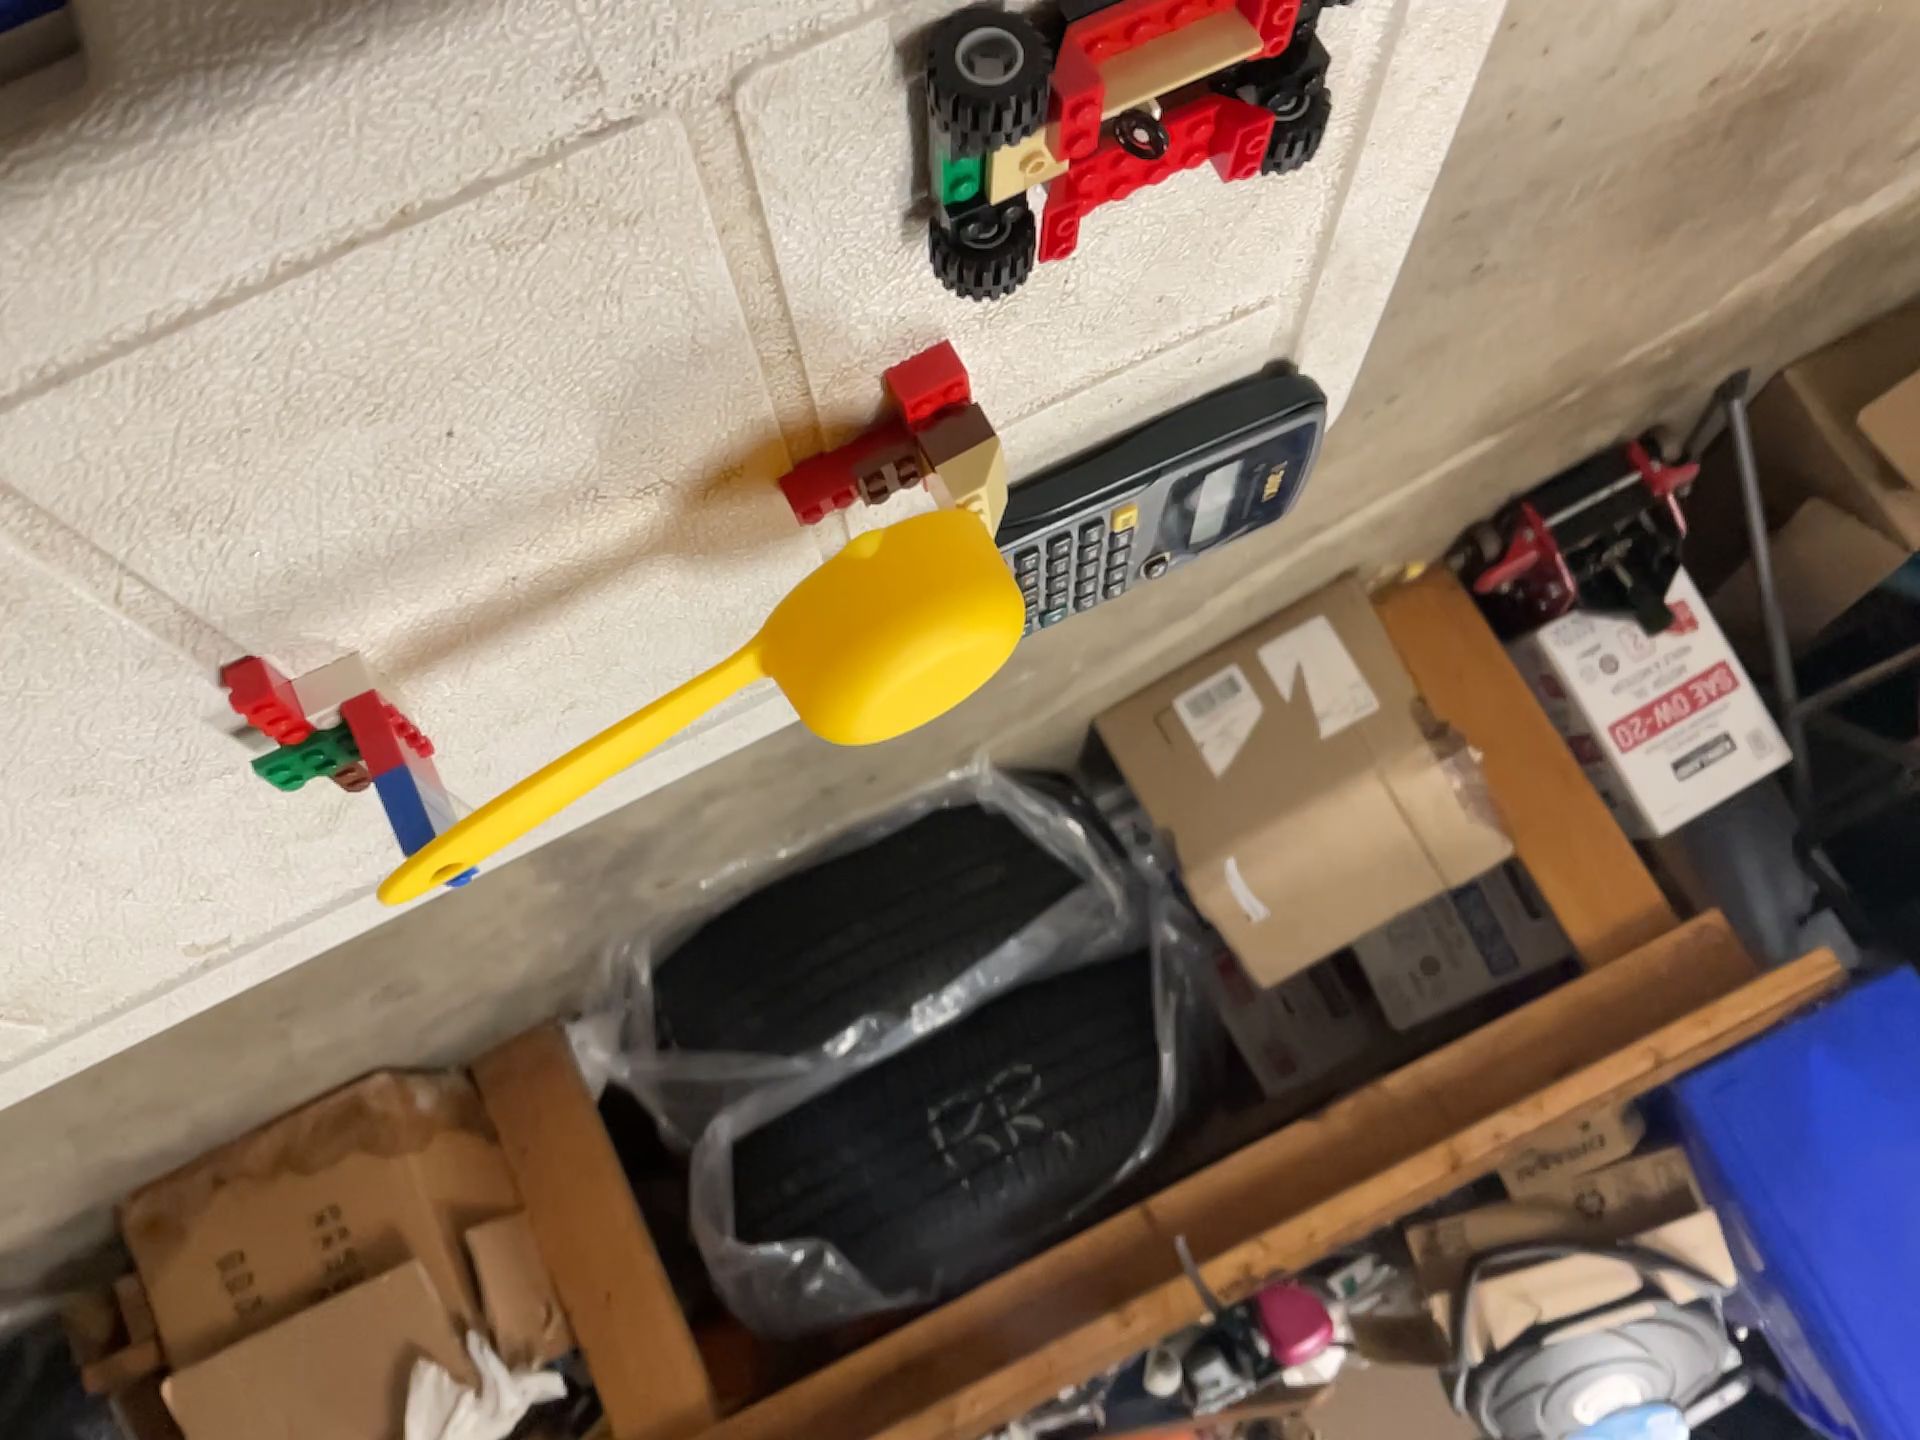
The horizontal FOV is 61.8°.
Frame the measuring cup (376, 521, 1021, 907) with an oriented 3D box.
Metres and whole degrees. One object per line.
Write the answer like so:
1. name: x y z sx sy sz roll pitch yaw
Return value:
1. measuring cup: -0.055 0.008 0.358 0.156 0.029 0.062 -32 165 -8
